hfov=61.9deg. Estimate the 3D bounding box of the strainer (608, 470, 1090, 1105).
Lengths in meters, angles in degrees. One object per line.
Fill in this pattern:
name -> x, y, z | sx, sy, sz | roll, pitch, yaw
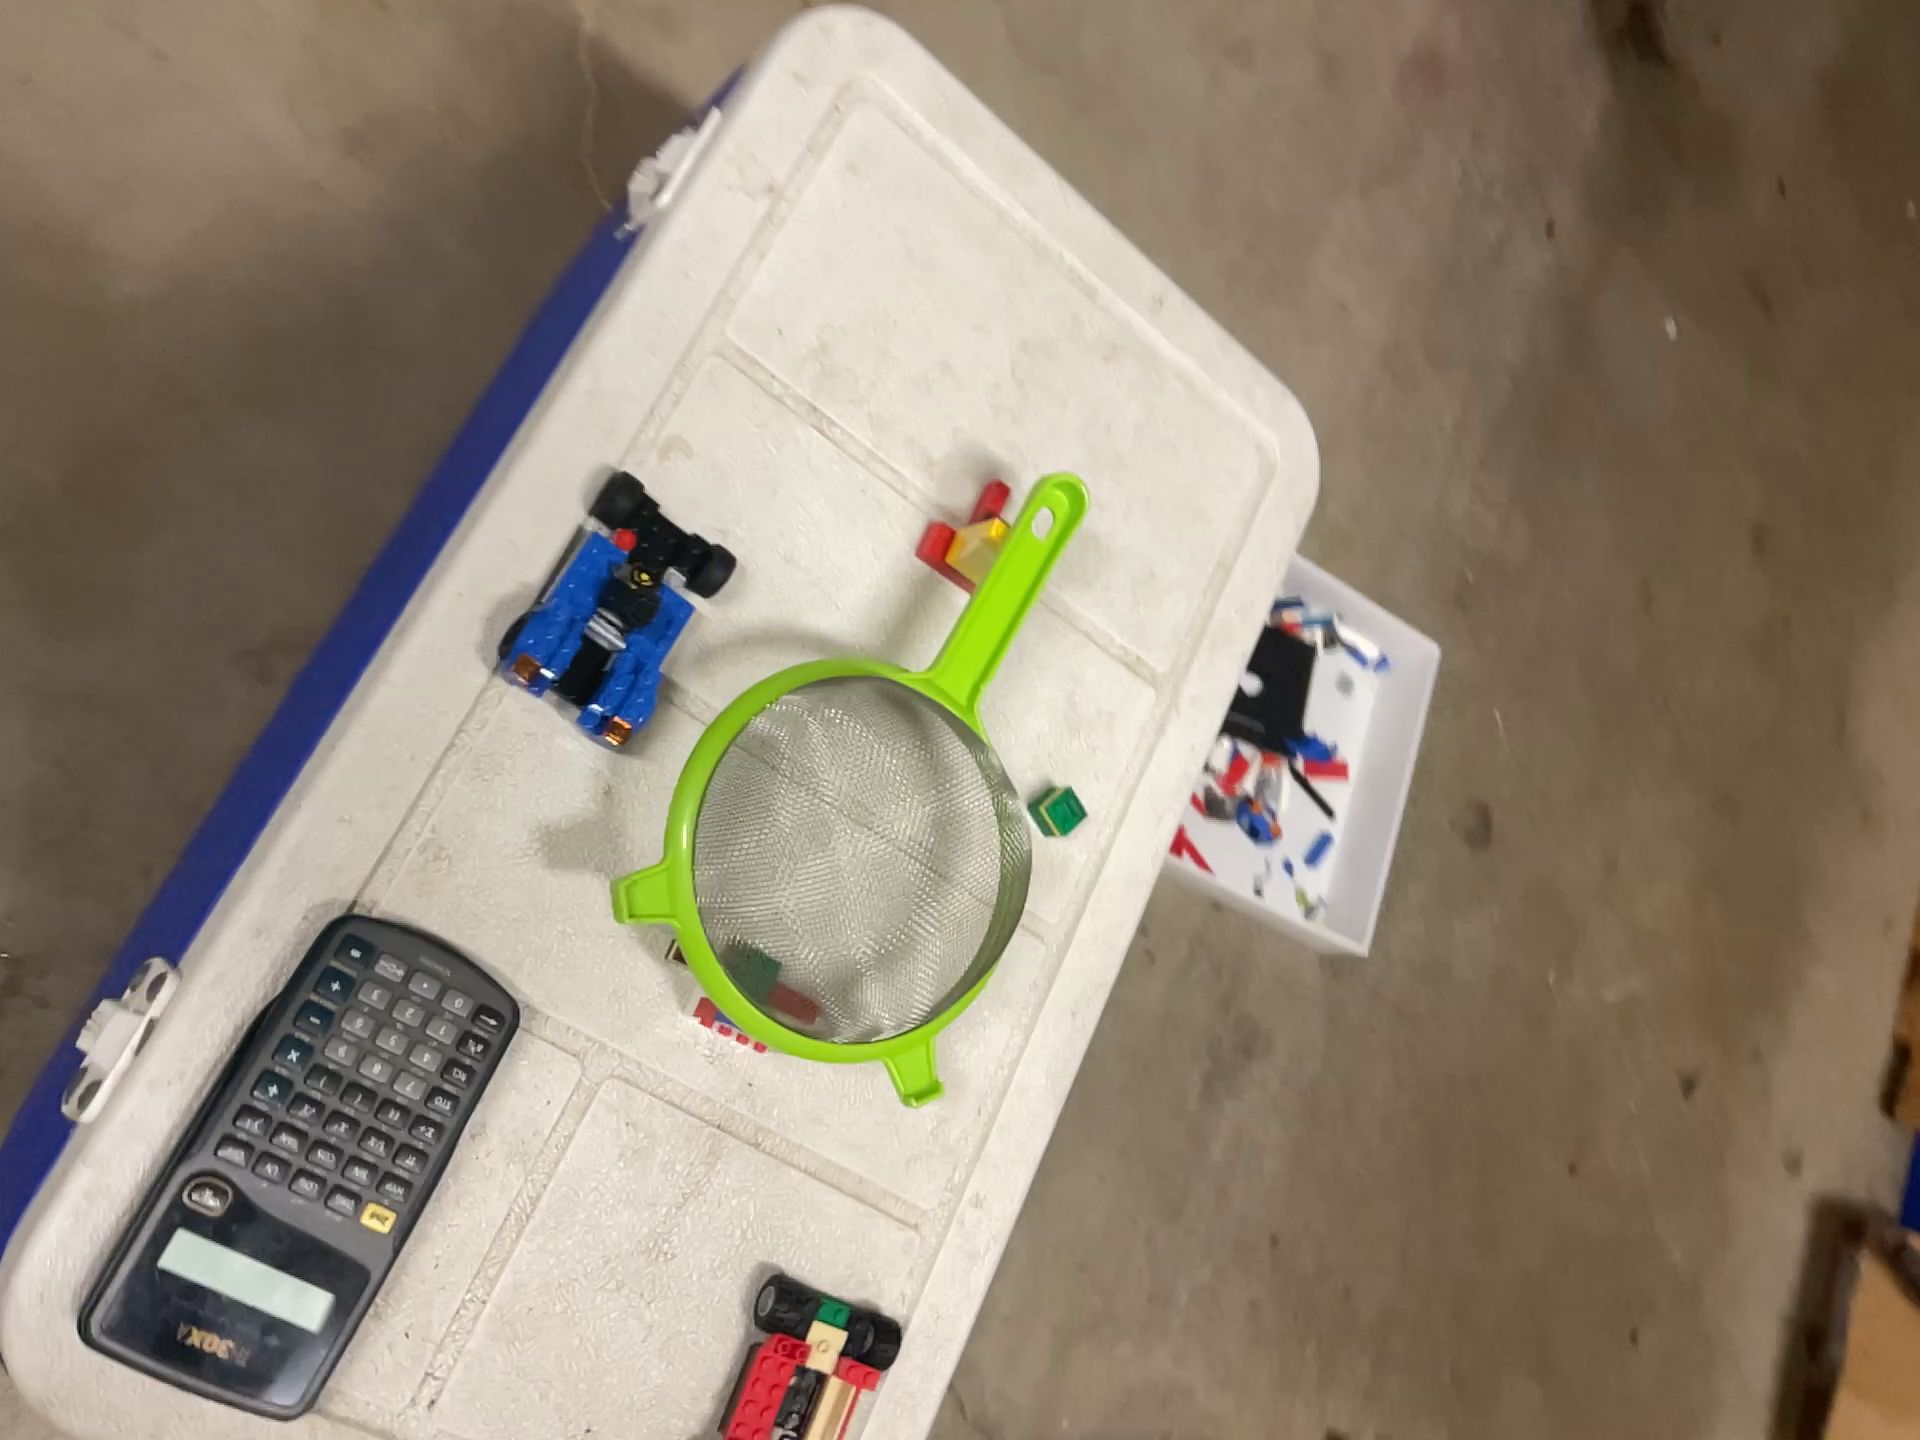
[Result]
strainer -> -0.001, 0.006, 0.592 | 0.151, 0.069, 0.256 | 38, 69, -23
